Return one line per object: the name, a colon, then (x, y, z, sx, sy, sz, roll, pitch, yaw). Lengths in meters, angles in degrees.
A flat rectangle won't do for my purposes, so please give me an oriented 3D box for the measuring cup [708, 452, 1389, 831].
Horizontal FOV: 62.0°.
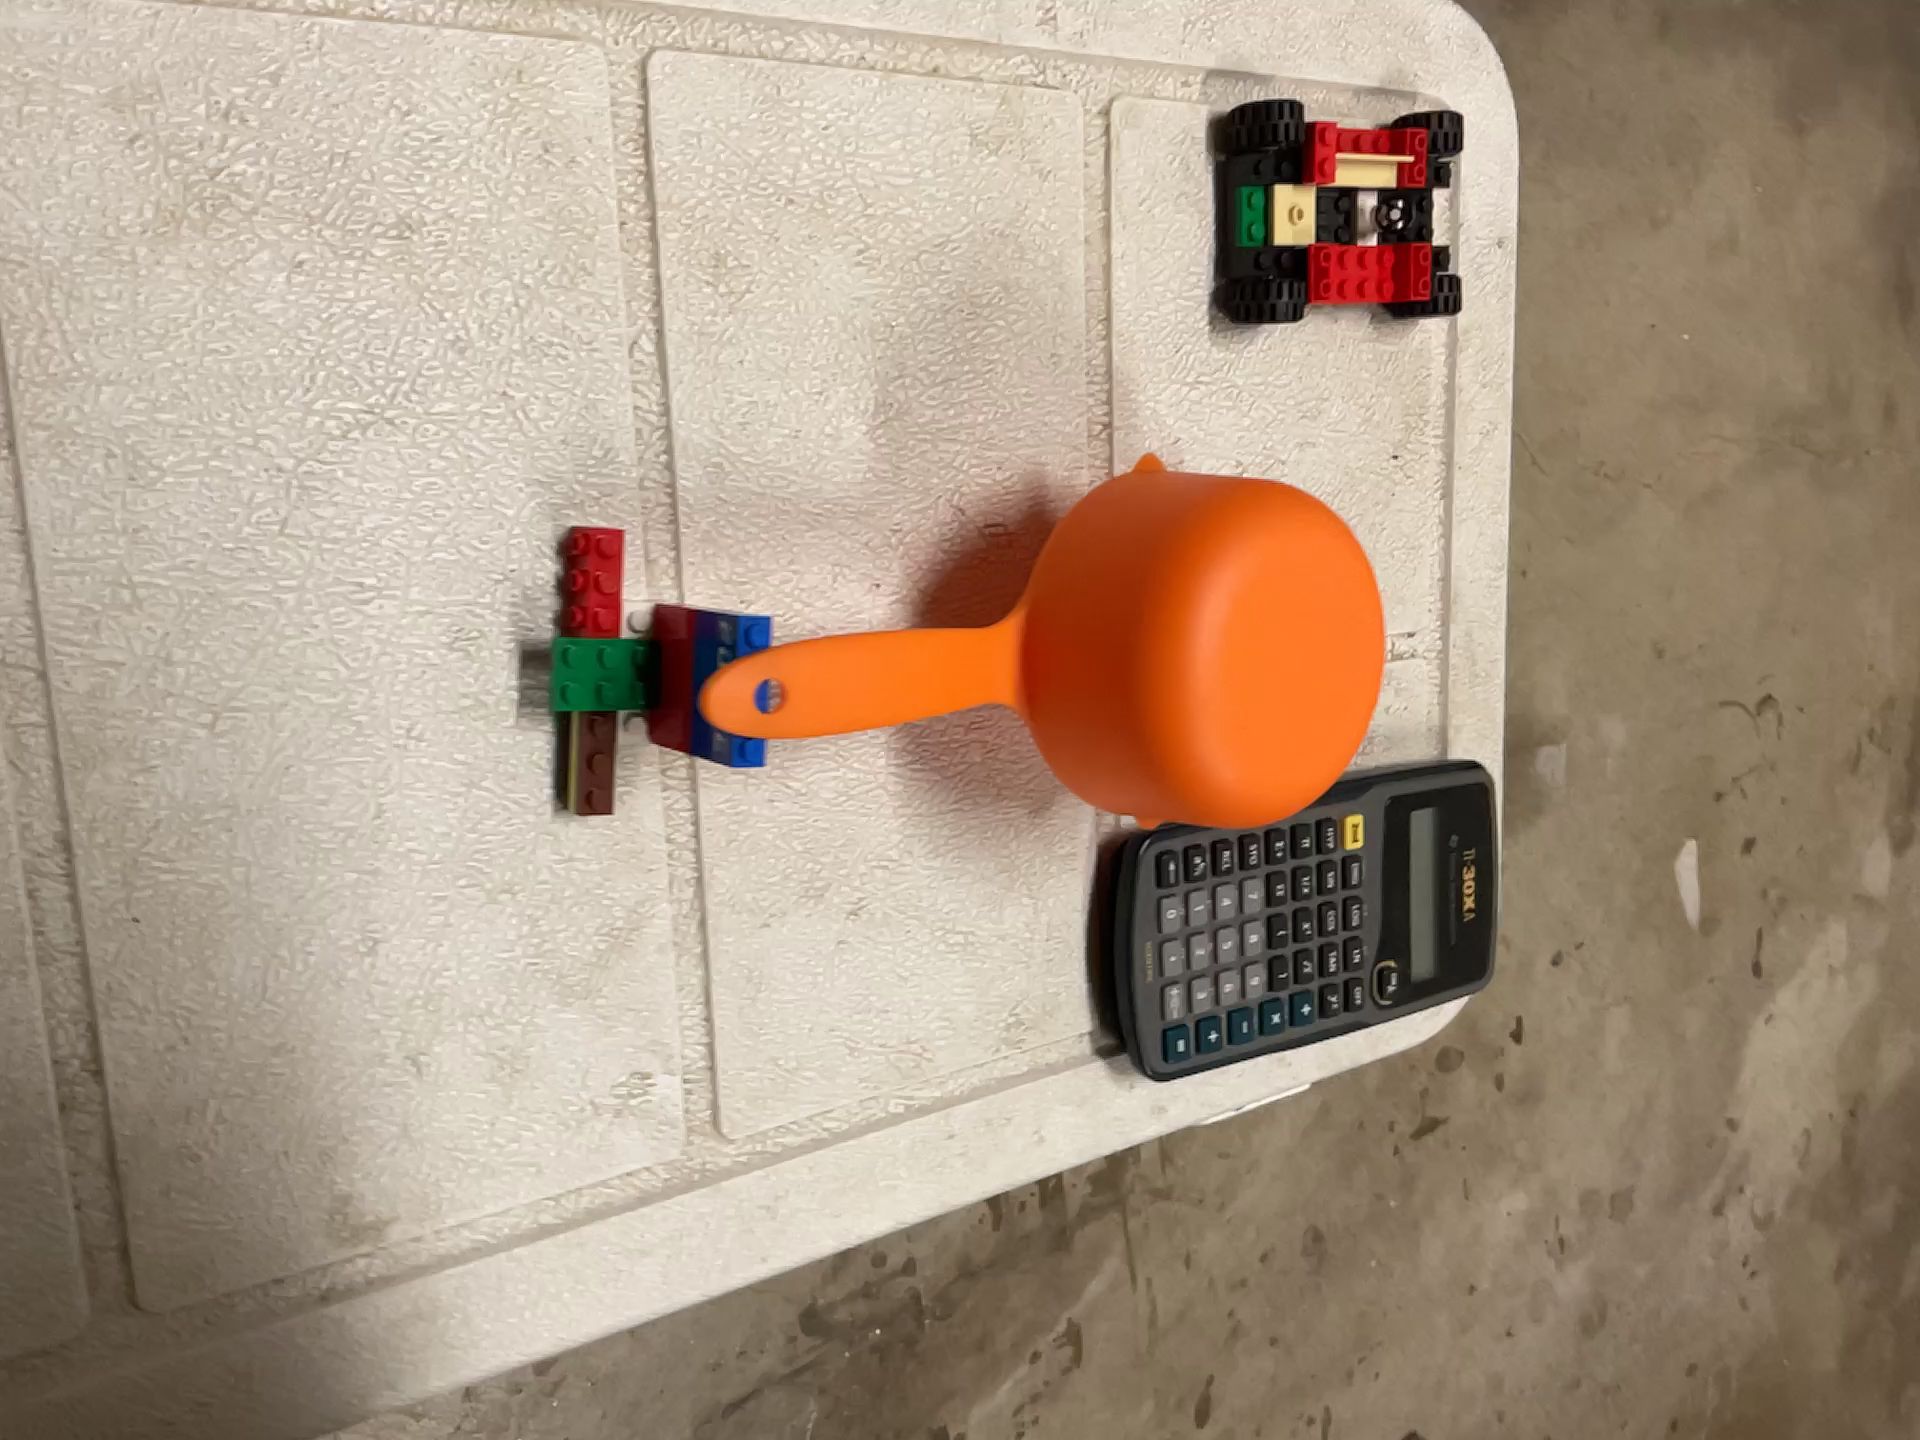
measuring cup: (0.030, -0.012, 0.358, 0.173, 0.052, 0.095, -8, 101, -39)
